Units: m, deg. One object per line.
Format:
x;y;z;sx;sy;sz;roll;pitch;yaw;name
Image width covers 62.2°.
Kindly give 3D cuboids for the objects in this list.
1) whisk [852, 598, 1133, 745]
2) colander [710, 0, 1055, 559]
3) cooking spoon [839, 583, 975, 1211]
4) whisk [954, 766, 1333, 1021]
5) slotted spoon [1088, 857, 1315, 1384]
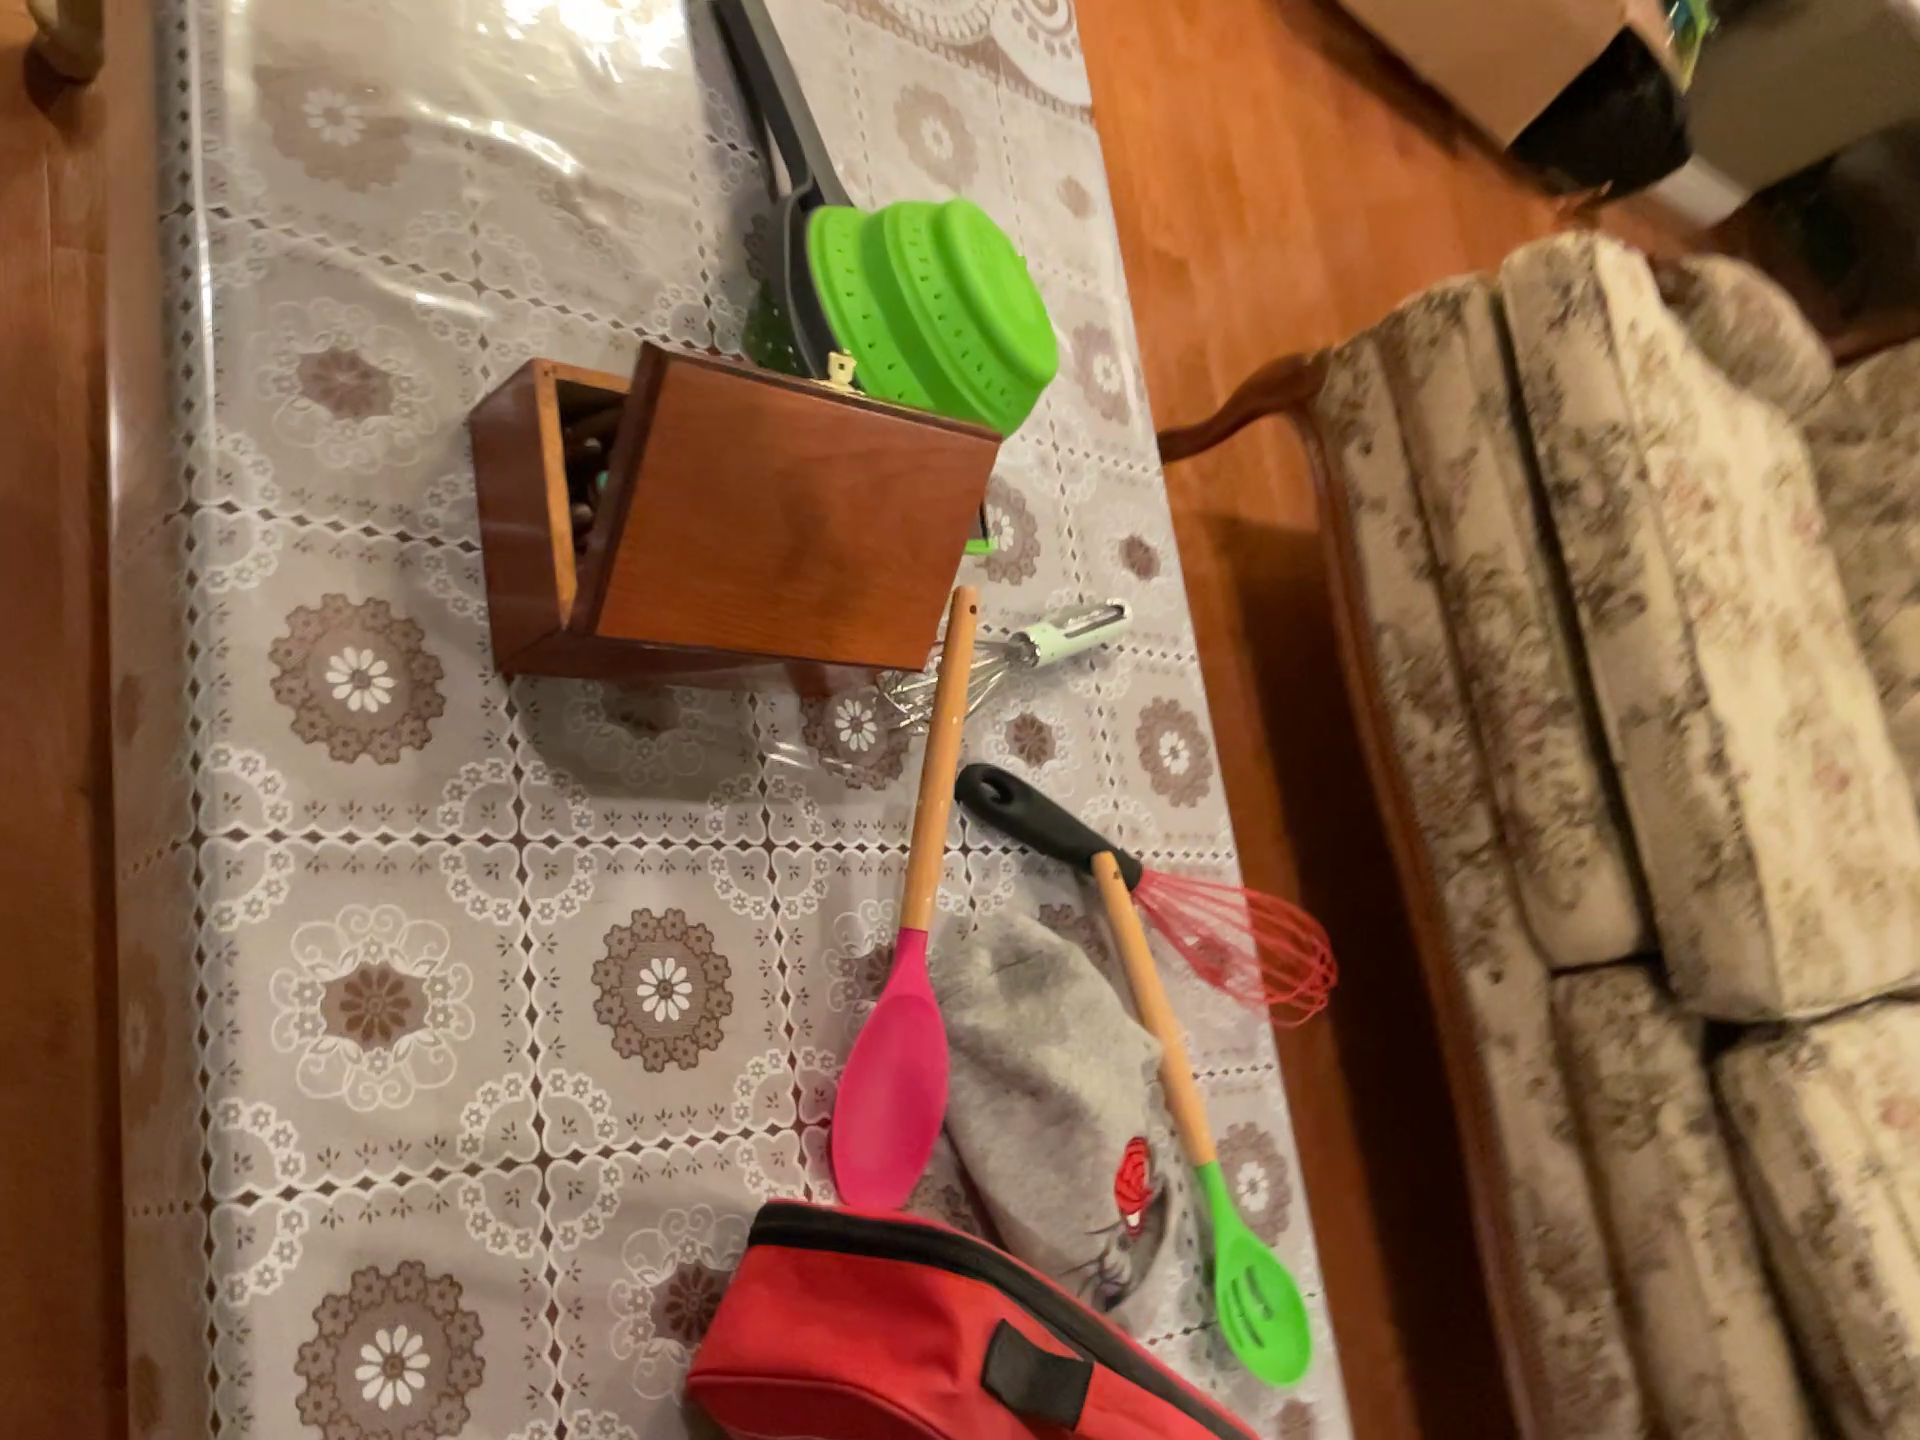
0.029;-0.037;0.923;0.246;0.059;0.057;-22;131;-48;whisk
-0.043;-0.287;0.881;0.204;0.094;0.397;1;65;-64;colander
-0.019;0.083;0.800;0.068;0.017;0.319;20;72;-40;cooking spoon
0.115;0.101;0.938;0.295;0.073;0.073;31;60;-24;whisk
0.131;0.227;0.906;0.070;0.031;0.314;-21;92;-46;slotted spoon
